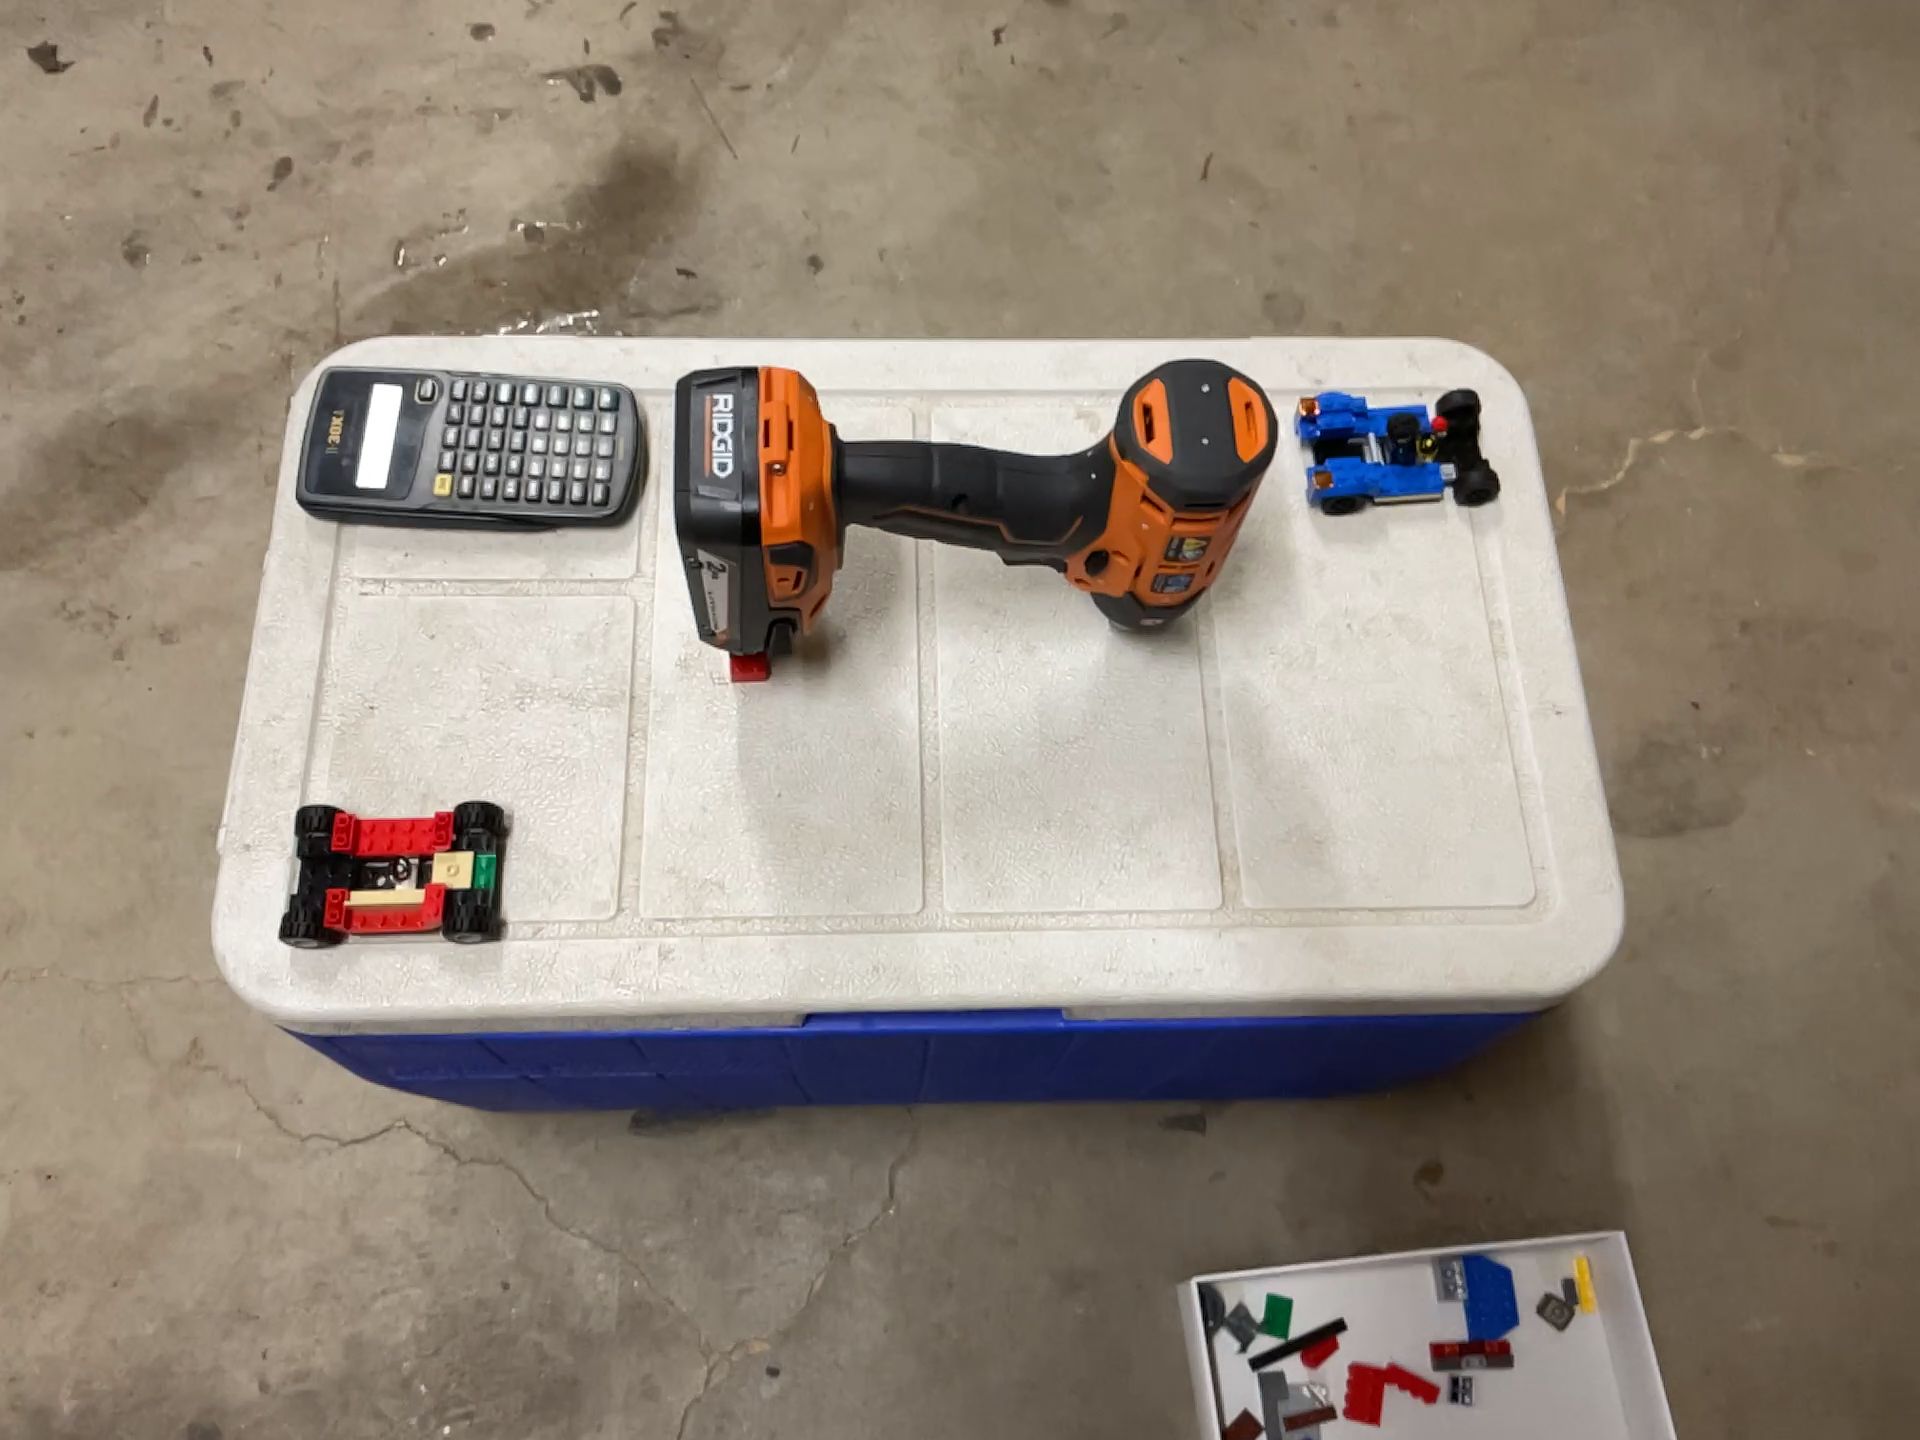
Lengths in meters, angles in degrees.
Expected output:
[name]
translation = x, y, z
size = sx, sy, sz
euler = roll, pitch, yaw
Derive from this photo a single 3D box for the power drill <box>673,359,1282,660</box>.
[power drill]
translation = 0.003, -0.077, 0.658
size = 0.226, 0.164, 0.084
euler = -1, 67, -4
